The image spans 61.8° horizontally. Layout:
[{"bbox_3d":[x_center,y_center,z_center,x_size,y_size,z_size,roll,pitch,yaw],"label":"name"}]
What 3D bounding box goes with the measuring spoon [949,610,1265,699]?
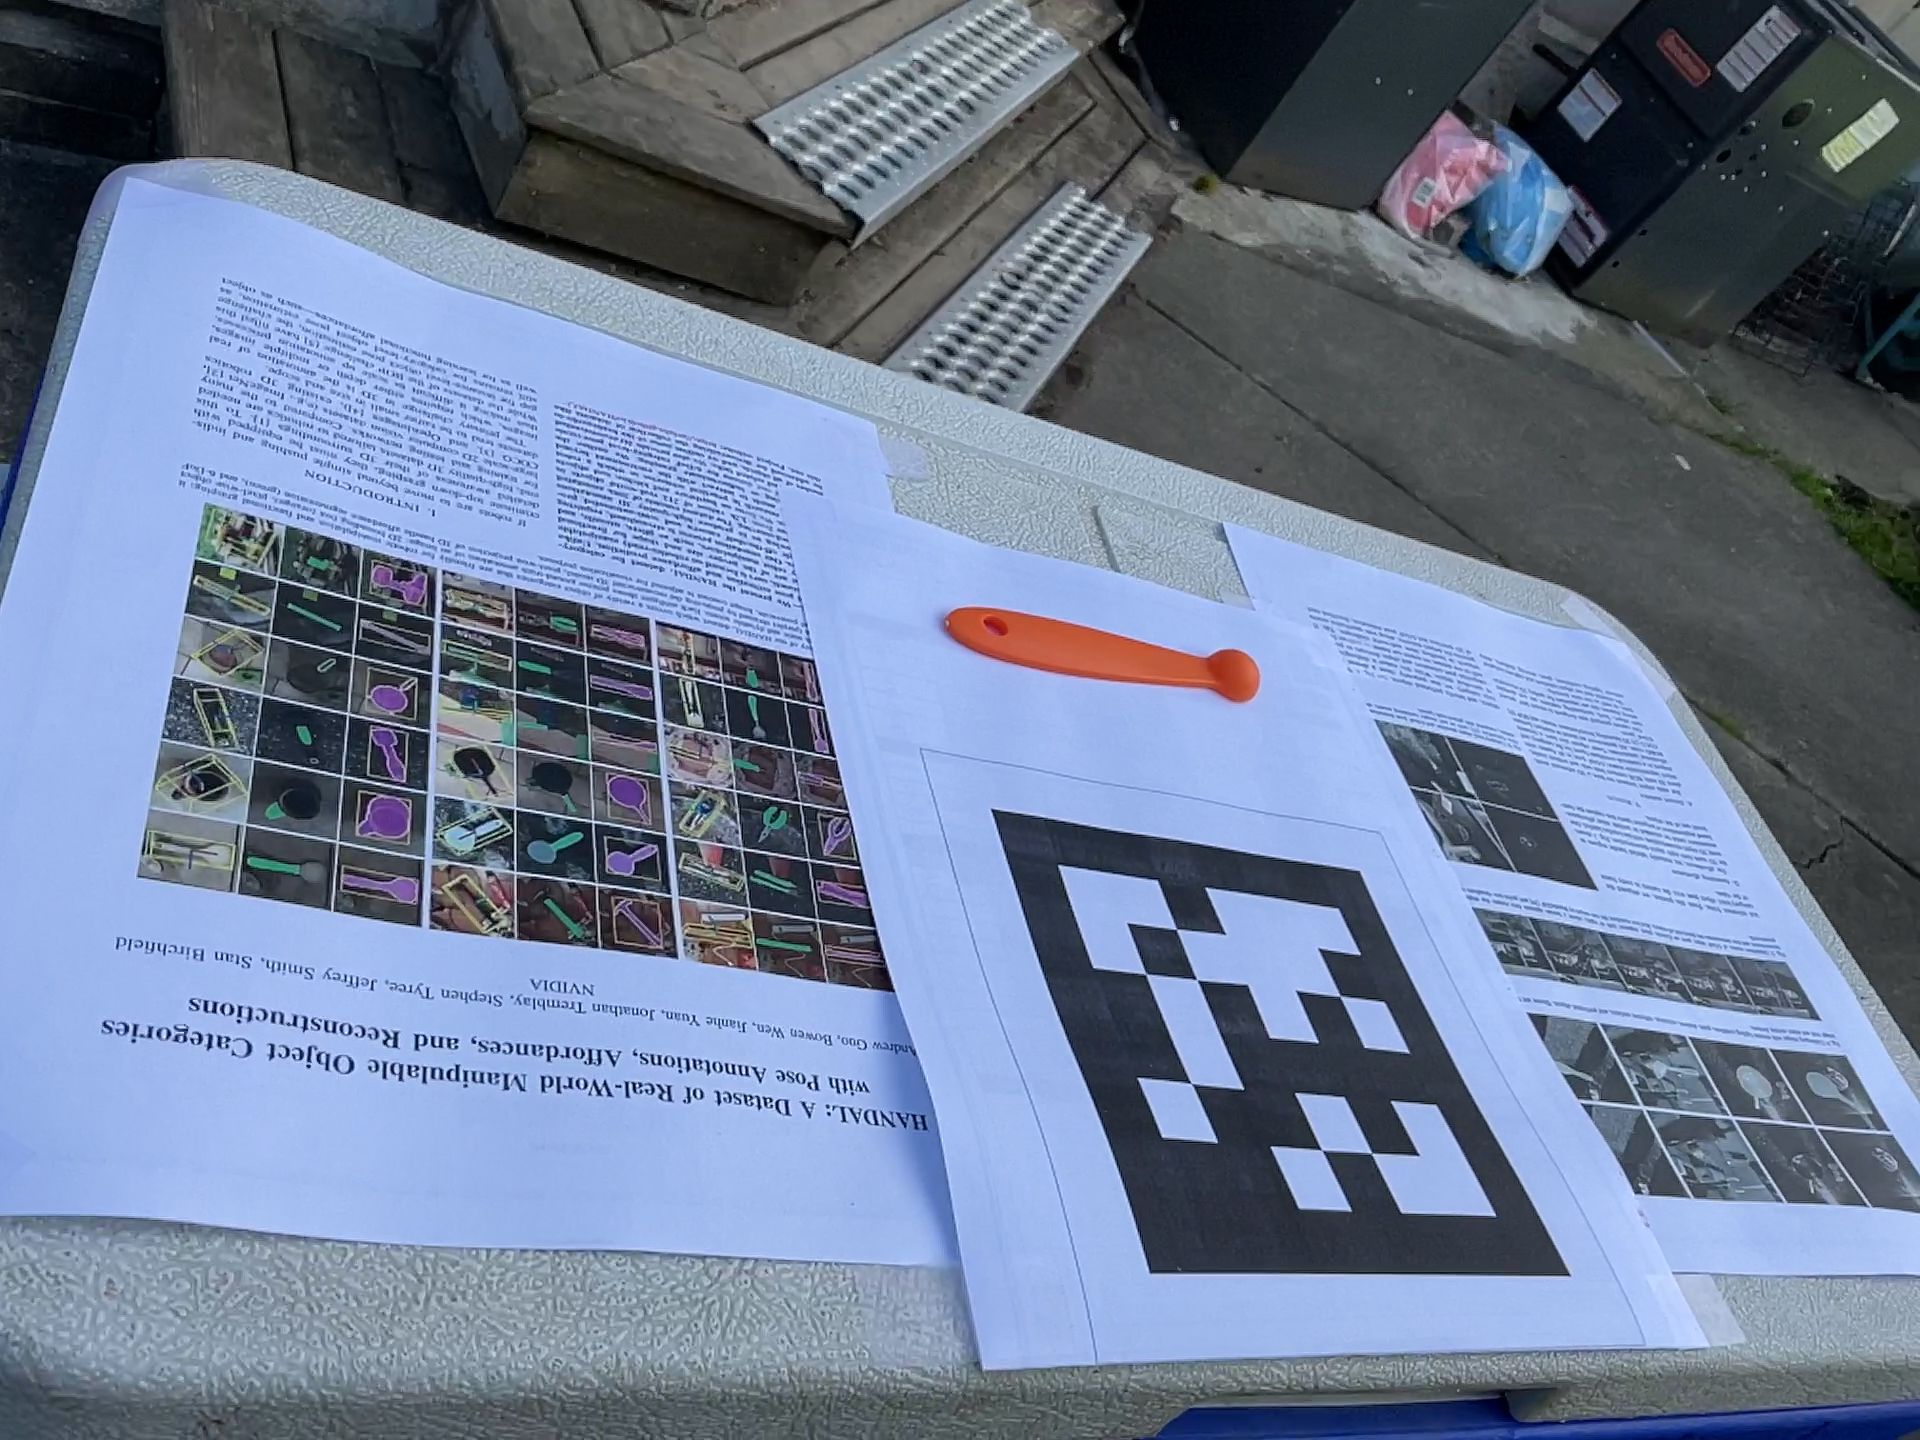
[{"bbox_3d":[0.048,-0.023,0.487,0.117,0.011,0.021,8,40,-31],"label":"measuring spoon"}]
